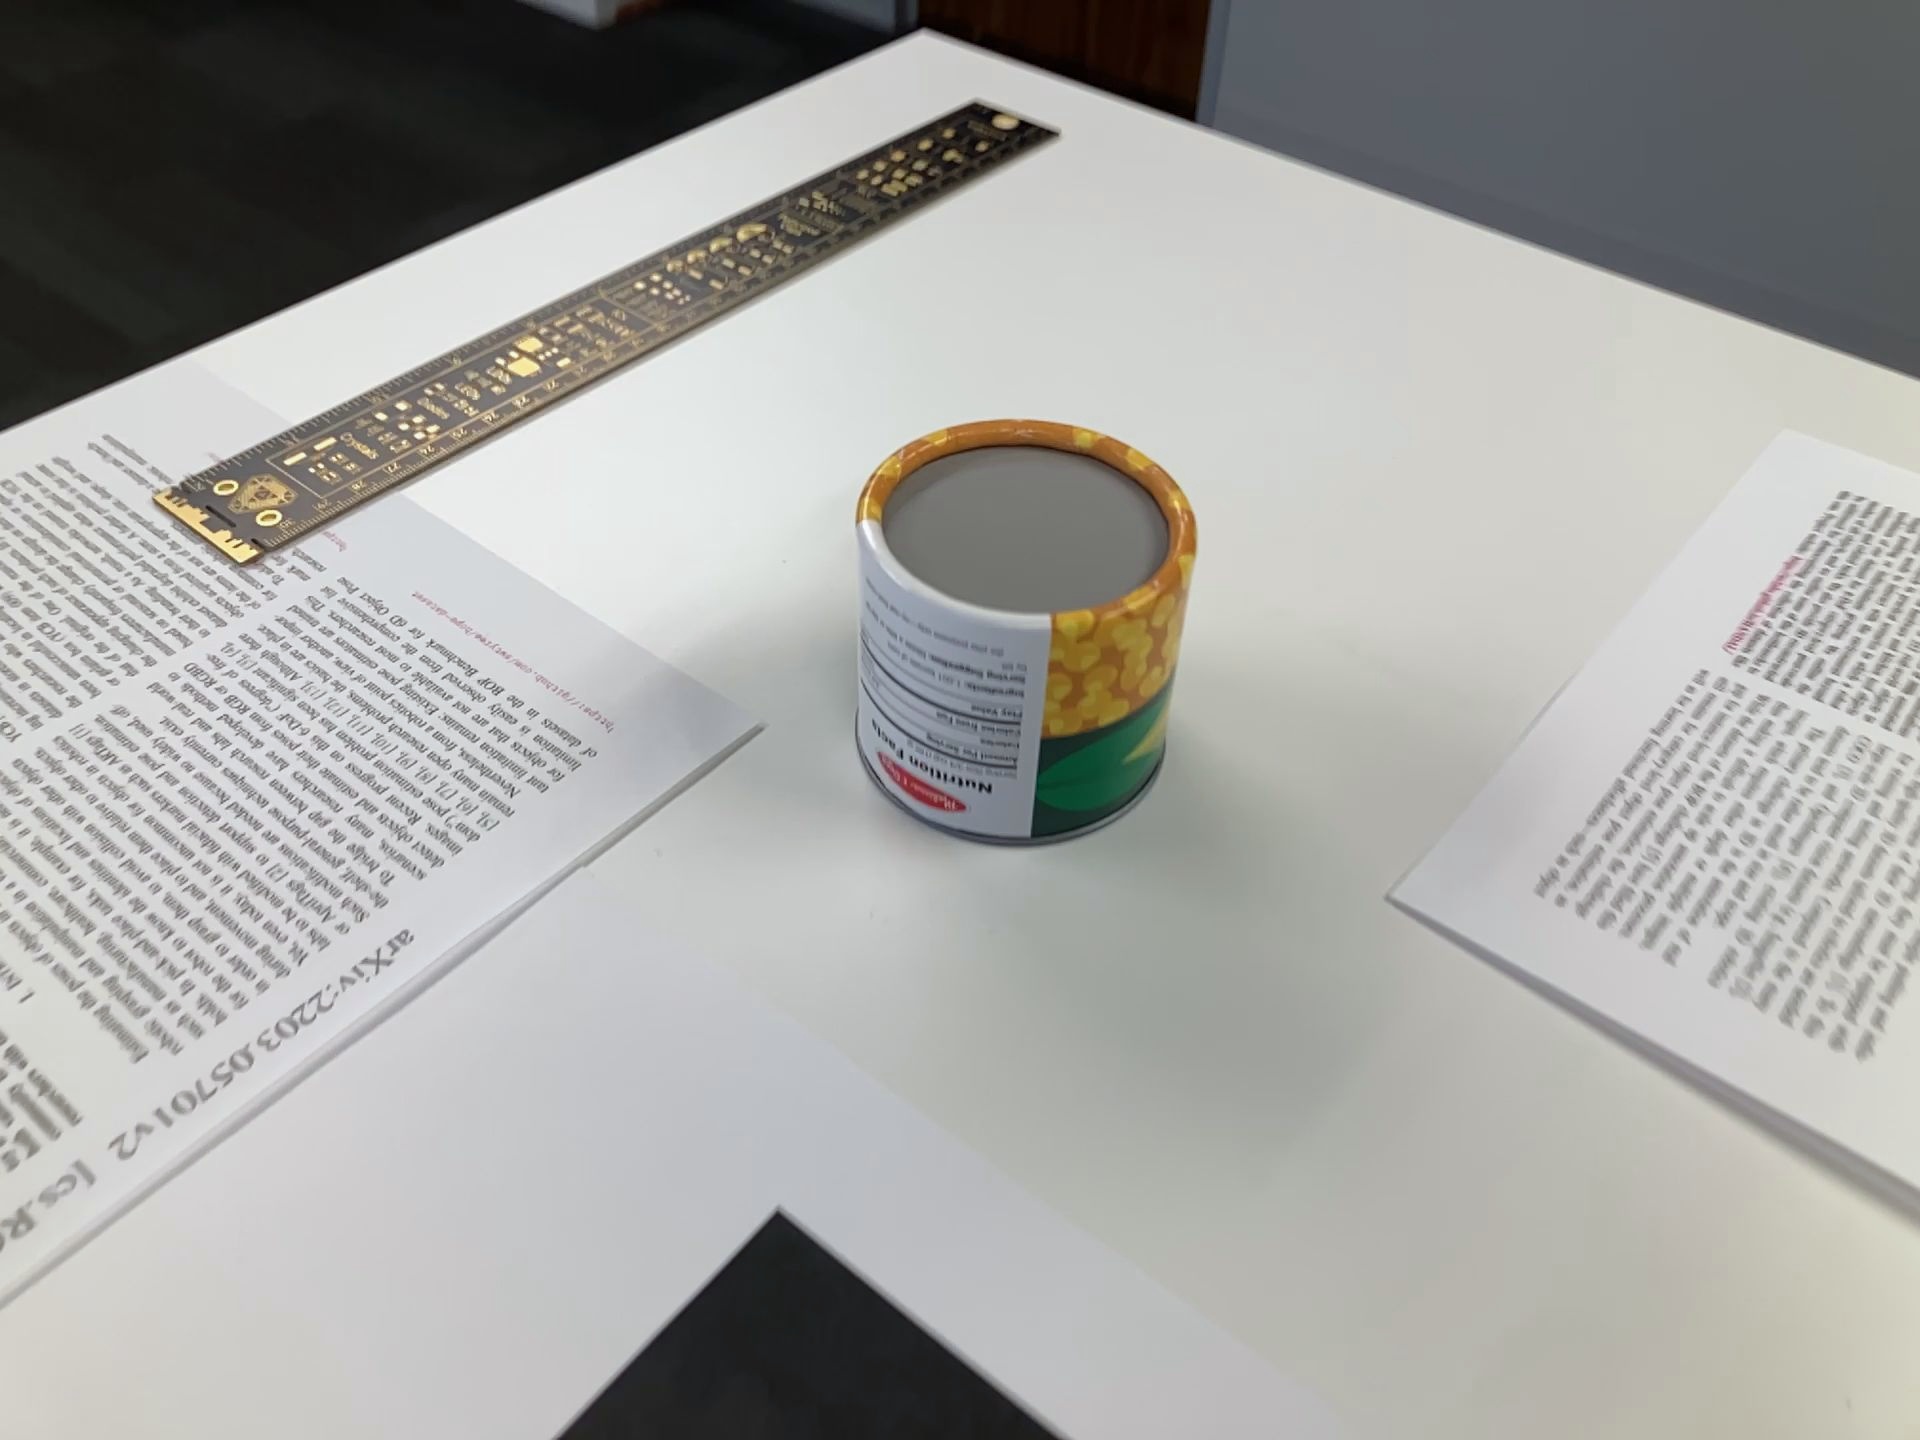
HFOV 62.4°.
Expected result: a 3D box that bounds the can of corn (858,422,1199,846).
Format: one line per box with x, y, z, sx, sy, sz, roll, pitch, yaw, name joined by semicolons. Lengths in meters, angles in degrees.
0.014;-0.020;0.322;0.071;0.058;0.071;1;44;-1;can of corn
